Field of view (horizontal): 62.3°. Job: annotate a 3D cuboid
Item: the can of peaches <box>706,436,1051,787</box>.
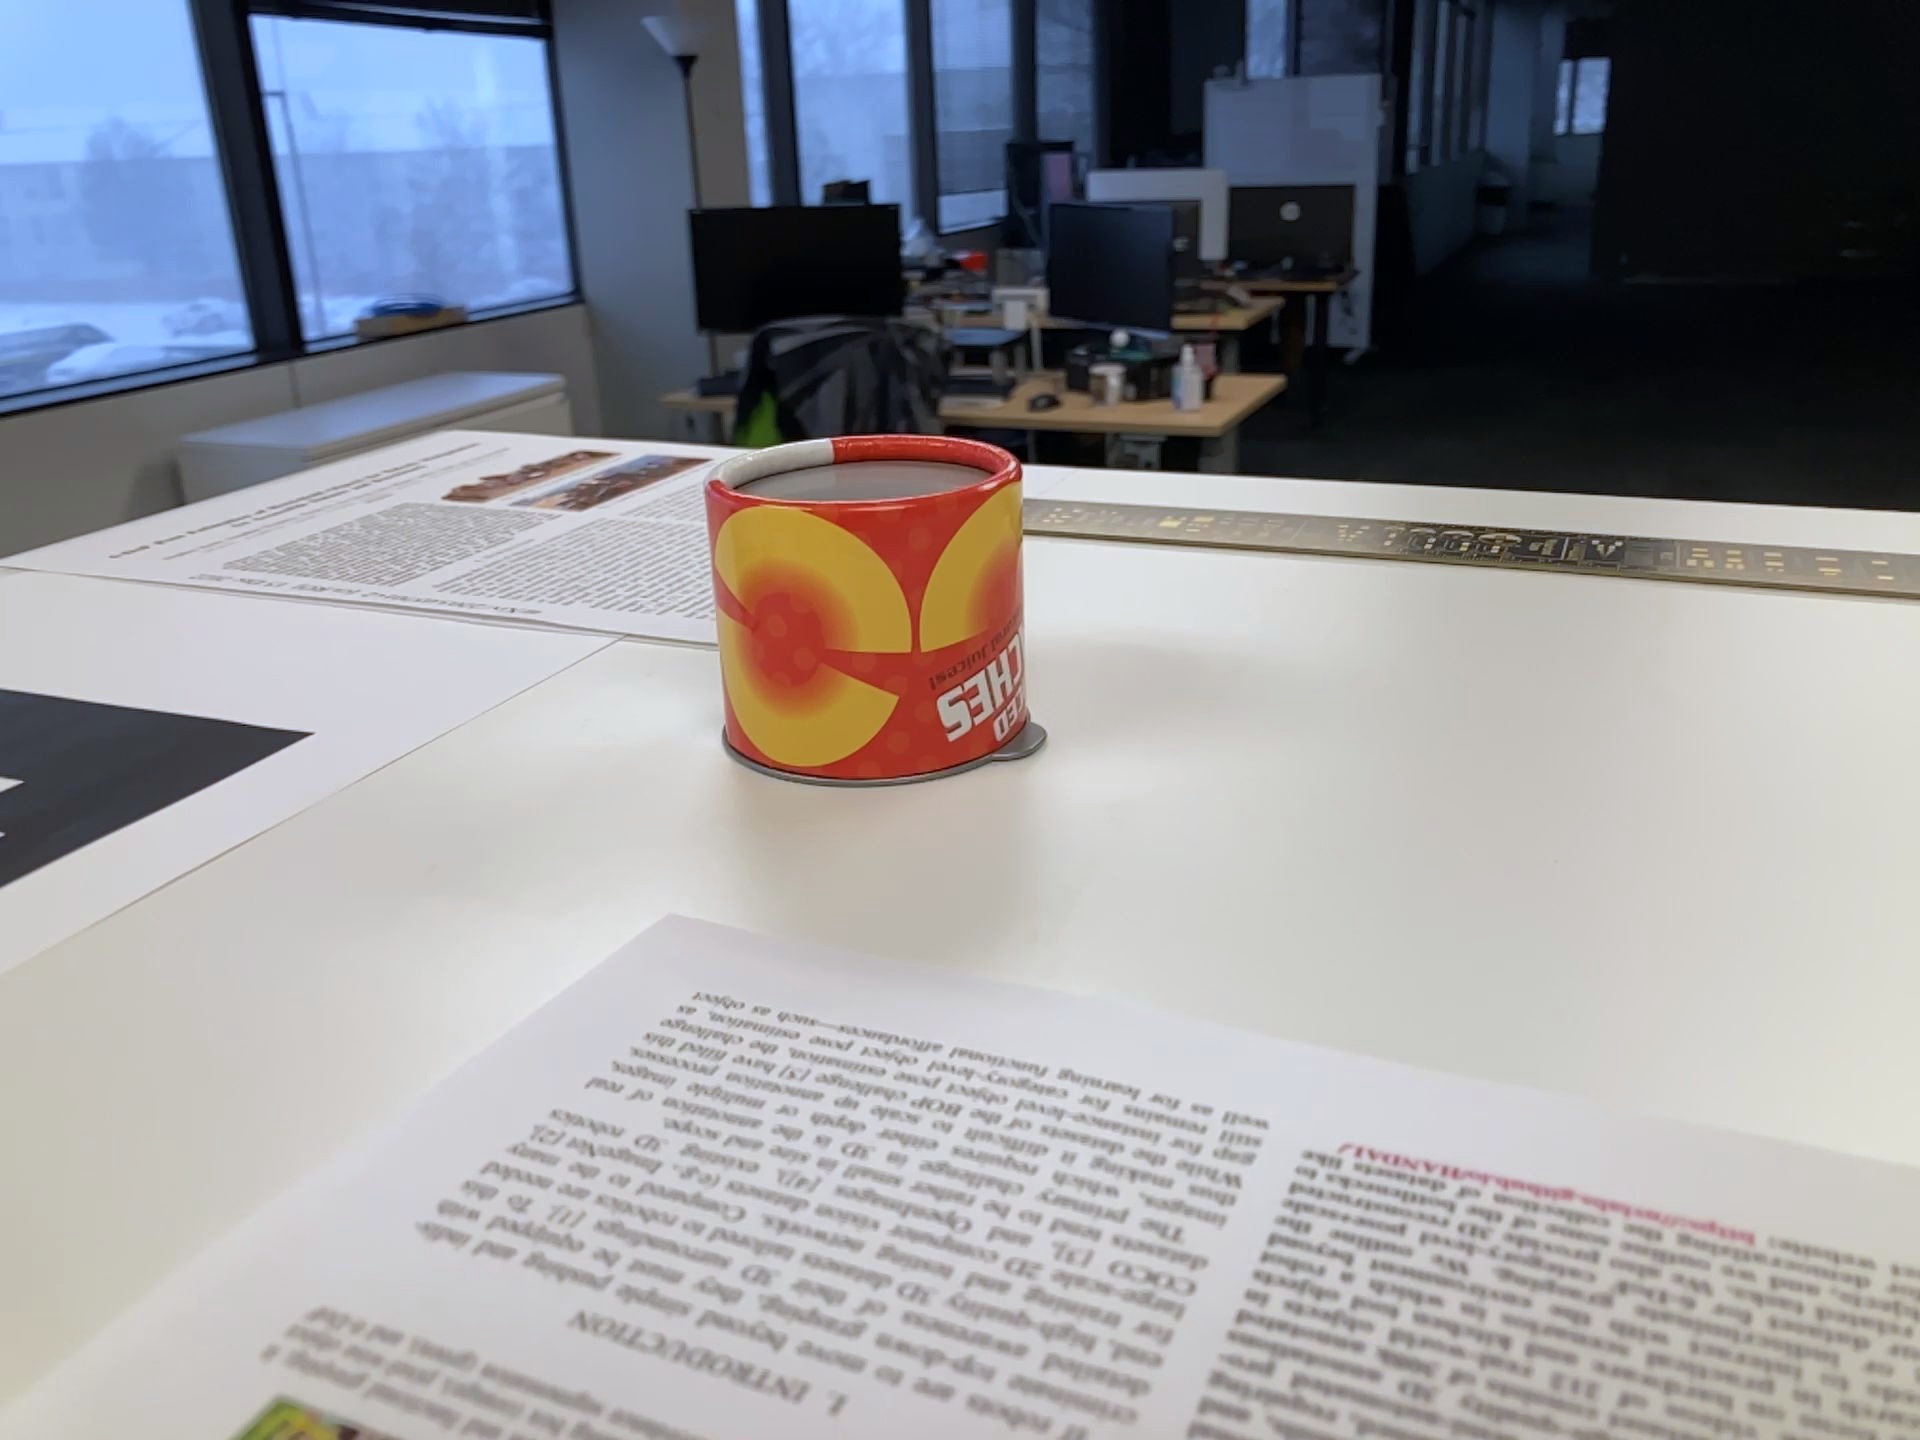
[{"bbox_3d":[-0.016,-0.025,0.330,0.071,0.058,0.071,-2,19,1],"label":"can of peaches"}]
